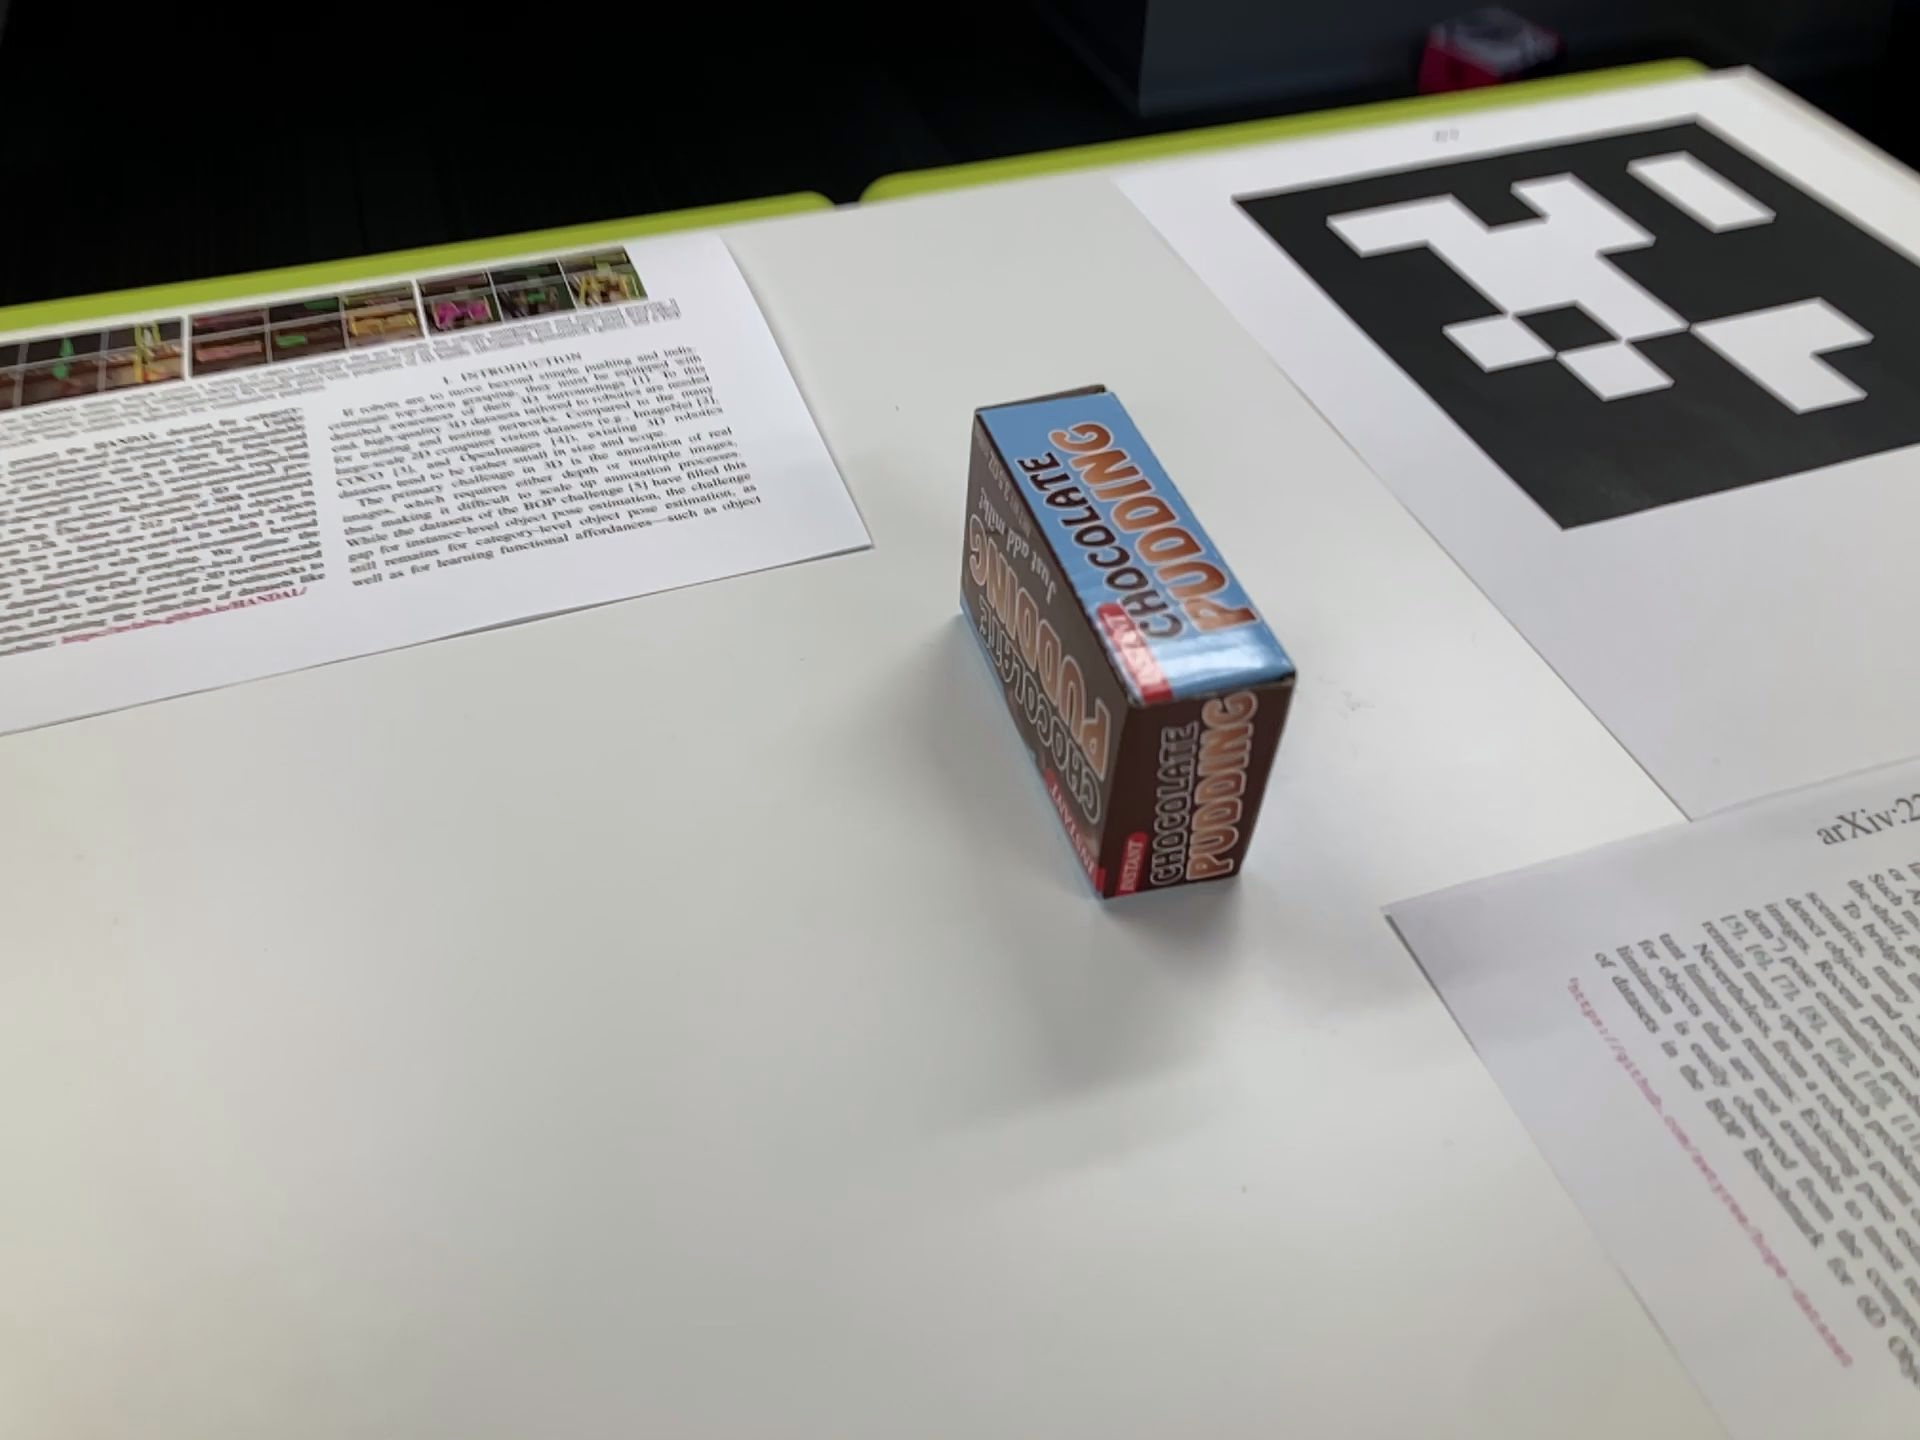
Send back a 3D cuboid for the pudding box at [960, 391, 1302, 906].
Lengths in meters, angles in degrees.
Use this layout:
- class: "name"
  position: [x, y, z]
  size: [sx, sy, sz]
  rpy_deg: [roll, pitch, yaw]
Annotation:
- class: "pudding box"
  position: [0.026, -0.015, 0.284]
  size: [0.030, 0.049, 0.083]
  rpy_deg: [-10, 46, -14]
